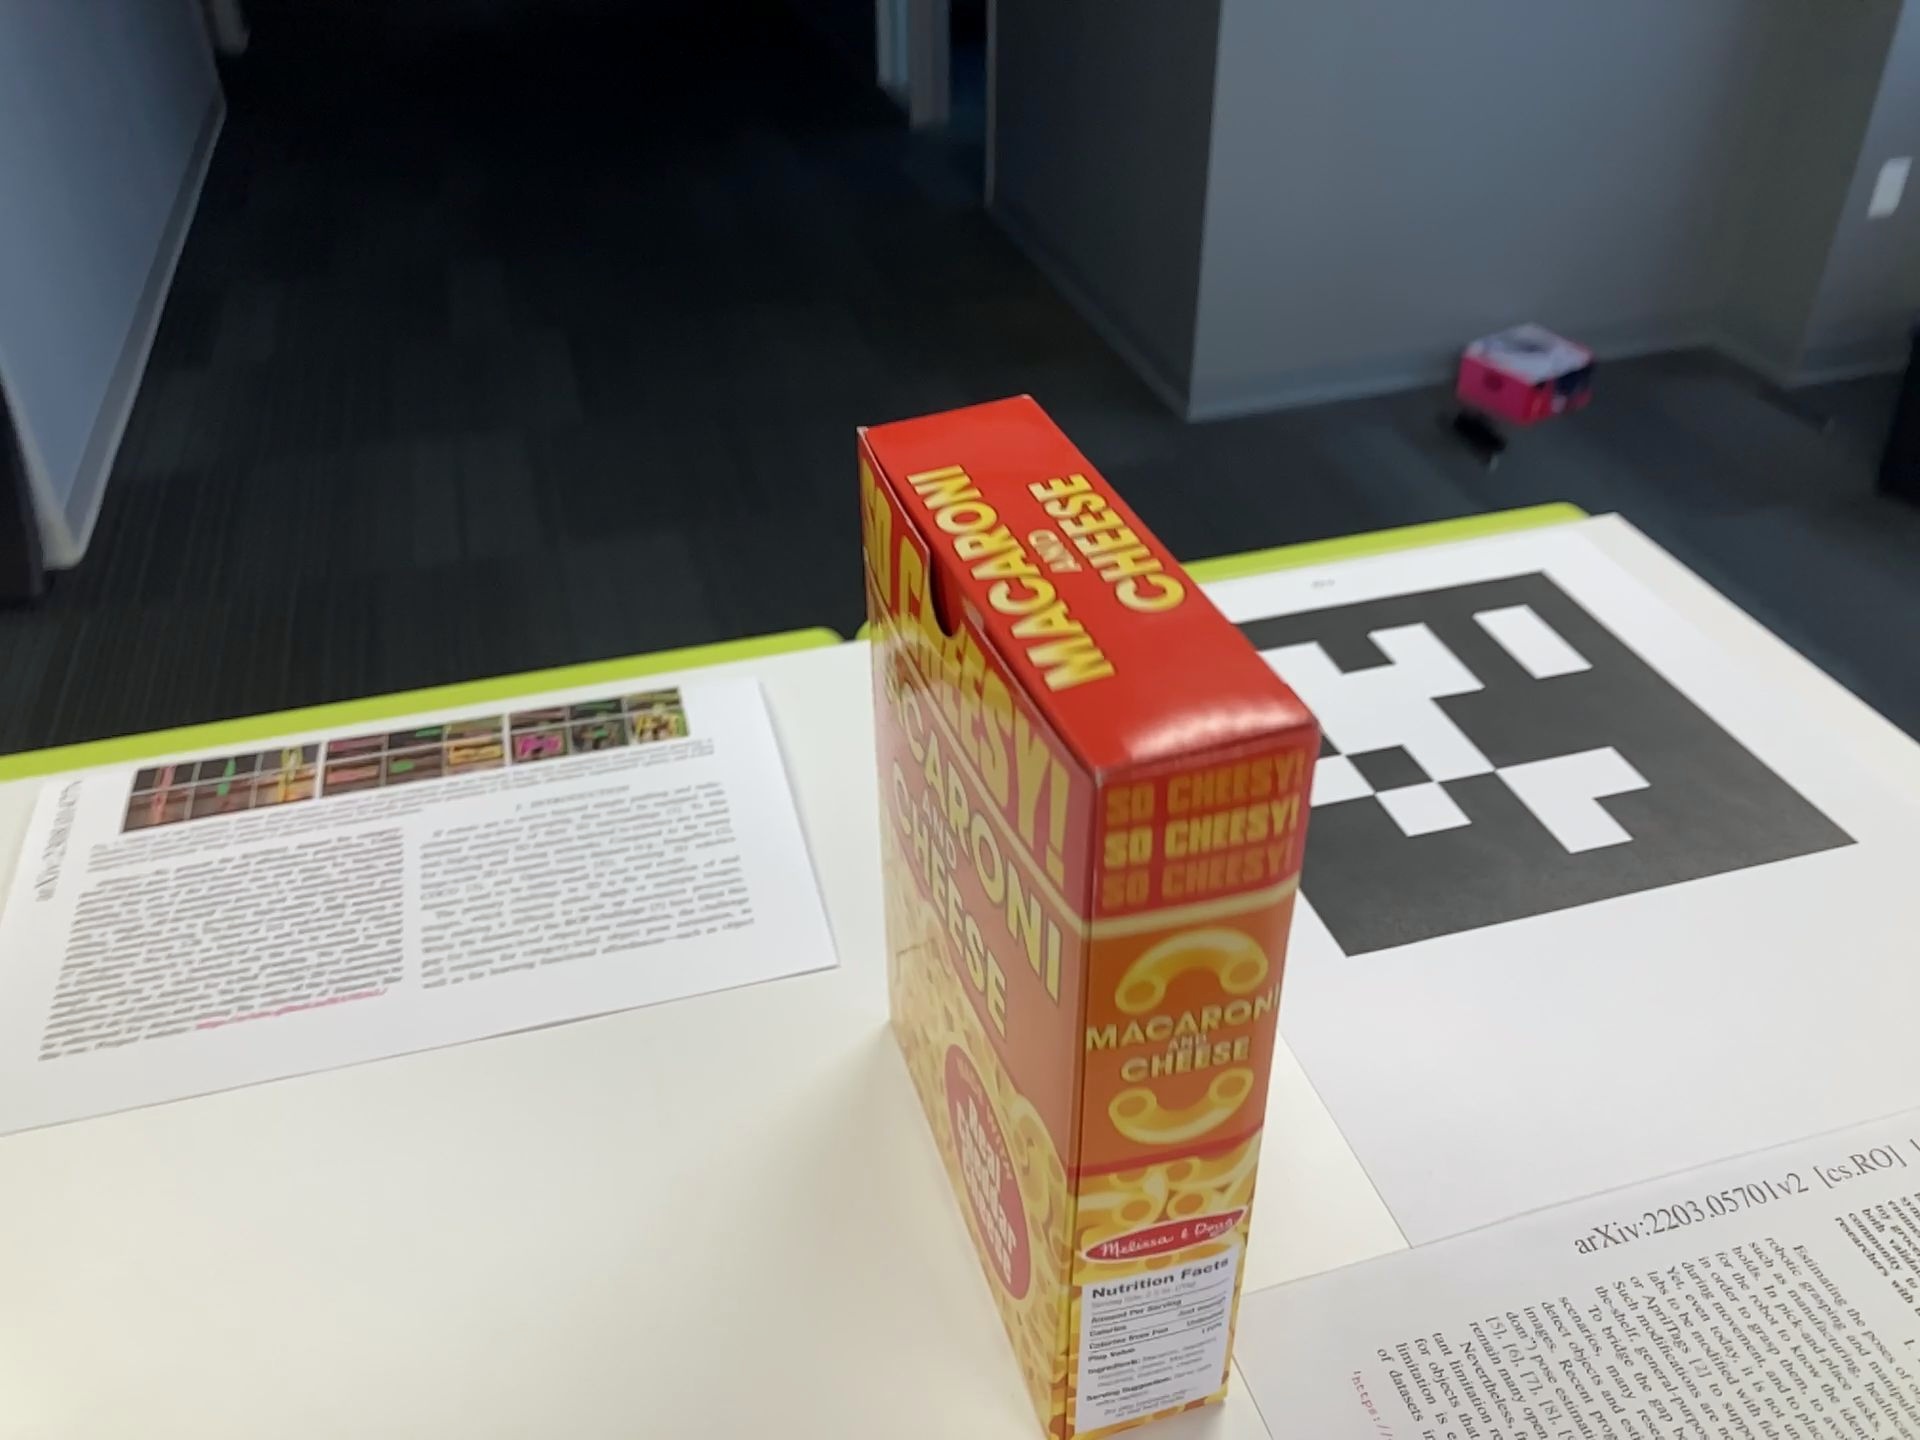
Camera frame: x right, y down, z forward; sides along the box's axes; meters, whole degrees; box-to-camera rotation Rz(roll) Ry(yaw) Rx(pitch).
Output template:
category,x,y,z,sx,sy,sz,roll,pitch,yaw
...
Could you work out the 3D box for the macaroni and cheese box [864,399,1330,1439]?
category,x,y,z,sx,sy,sz,roll,pitch,yaw
macaroni and cheese box,0.017,0.039,0.316,0.040,0.166,0.124,-12,37,-15
